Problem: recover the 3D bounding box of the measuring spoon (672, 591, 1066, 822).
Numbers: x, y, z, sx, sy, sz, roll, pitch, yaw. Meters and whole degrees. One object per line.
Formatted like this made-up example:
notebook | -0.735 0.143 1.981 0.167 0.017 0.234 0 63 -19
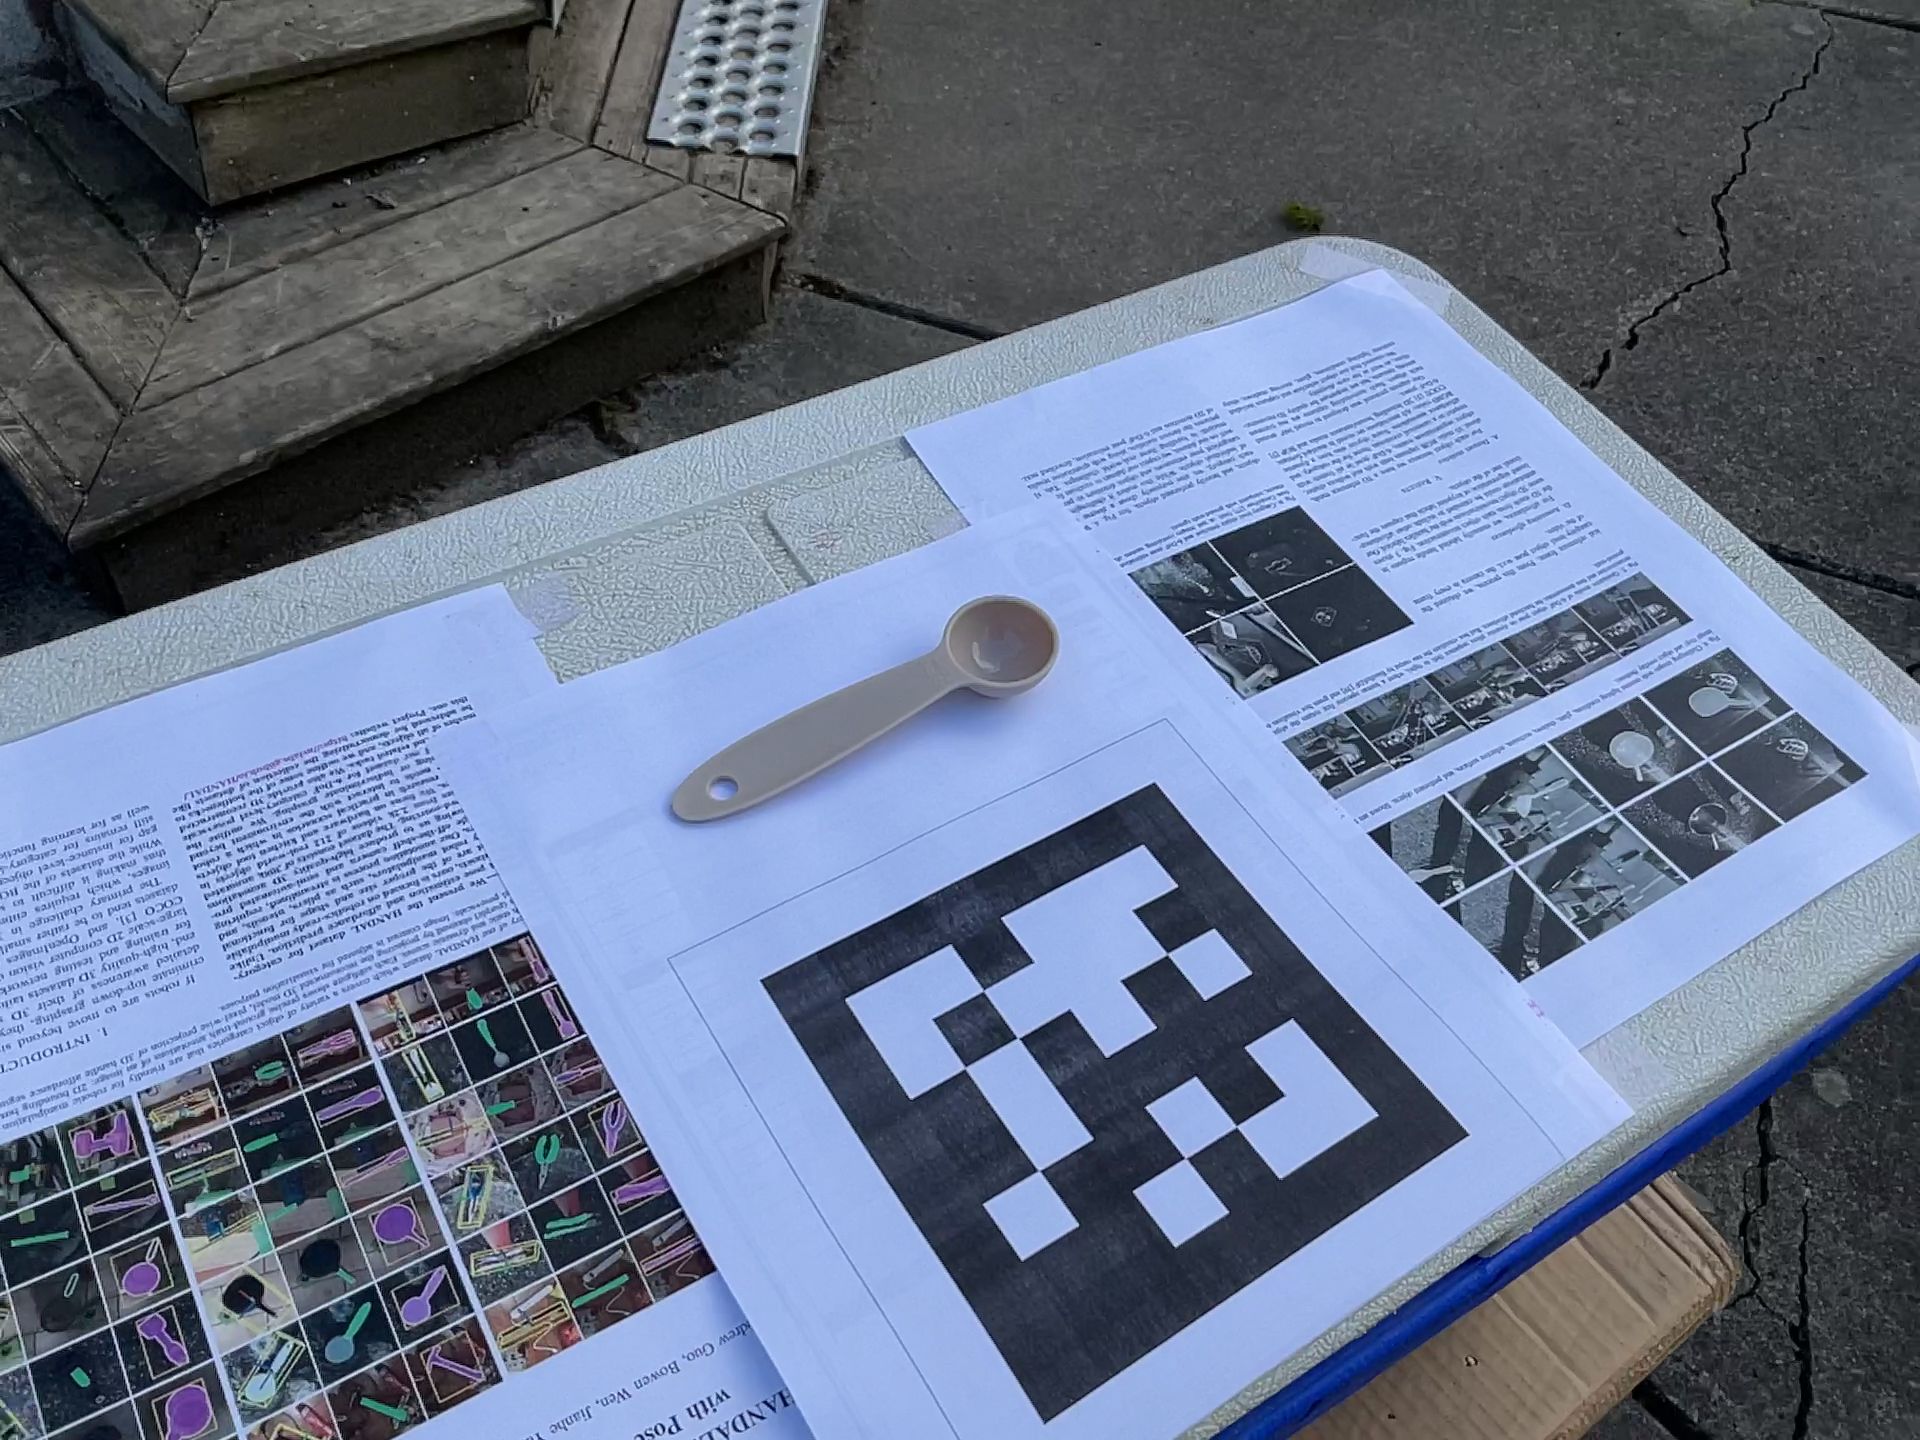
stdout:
measuring spoon | -0.025 0.000 0.455 0.124 0.018 0.034 -27 62 -18
